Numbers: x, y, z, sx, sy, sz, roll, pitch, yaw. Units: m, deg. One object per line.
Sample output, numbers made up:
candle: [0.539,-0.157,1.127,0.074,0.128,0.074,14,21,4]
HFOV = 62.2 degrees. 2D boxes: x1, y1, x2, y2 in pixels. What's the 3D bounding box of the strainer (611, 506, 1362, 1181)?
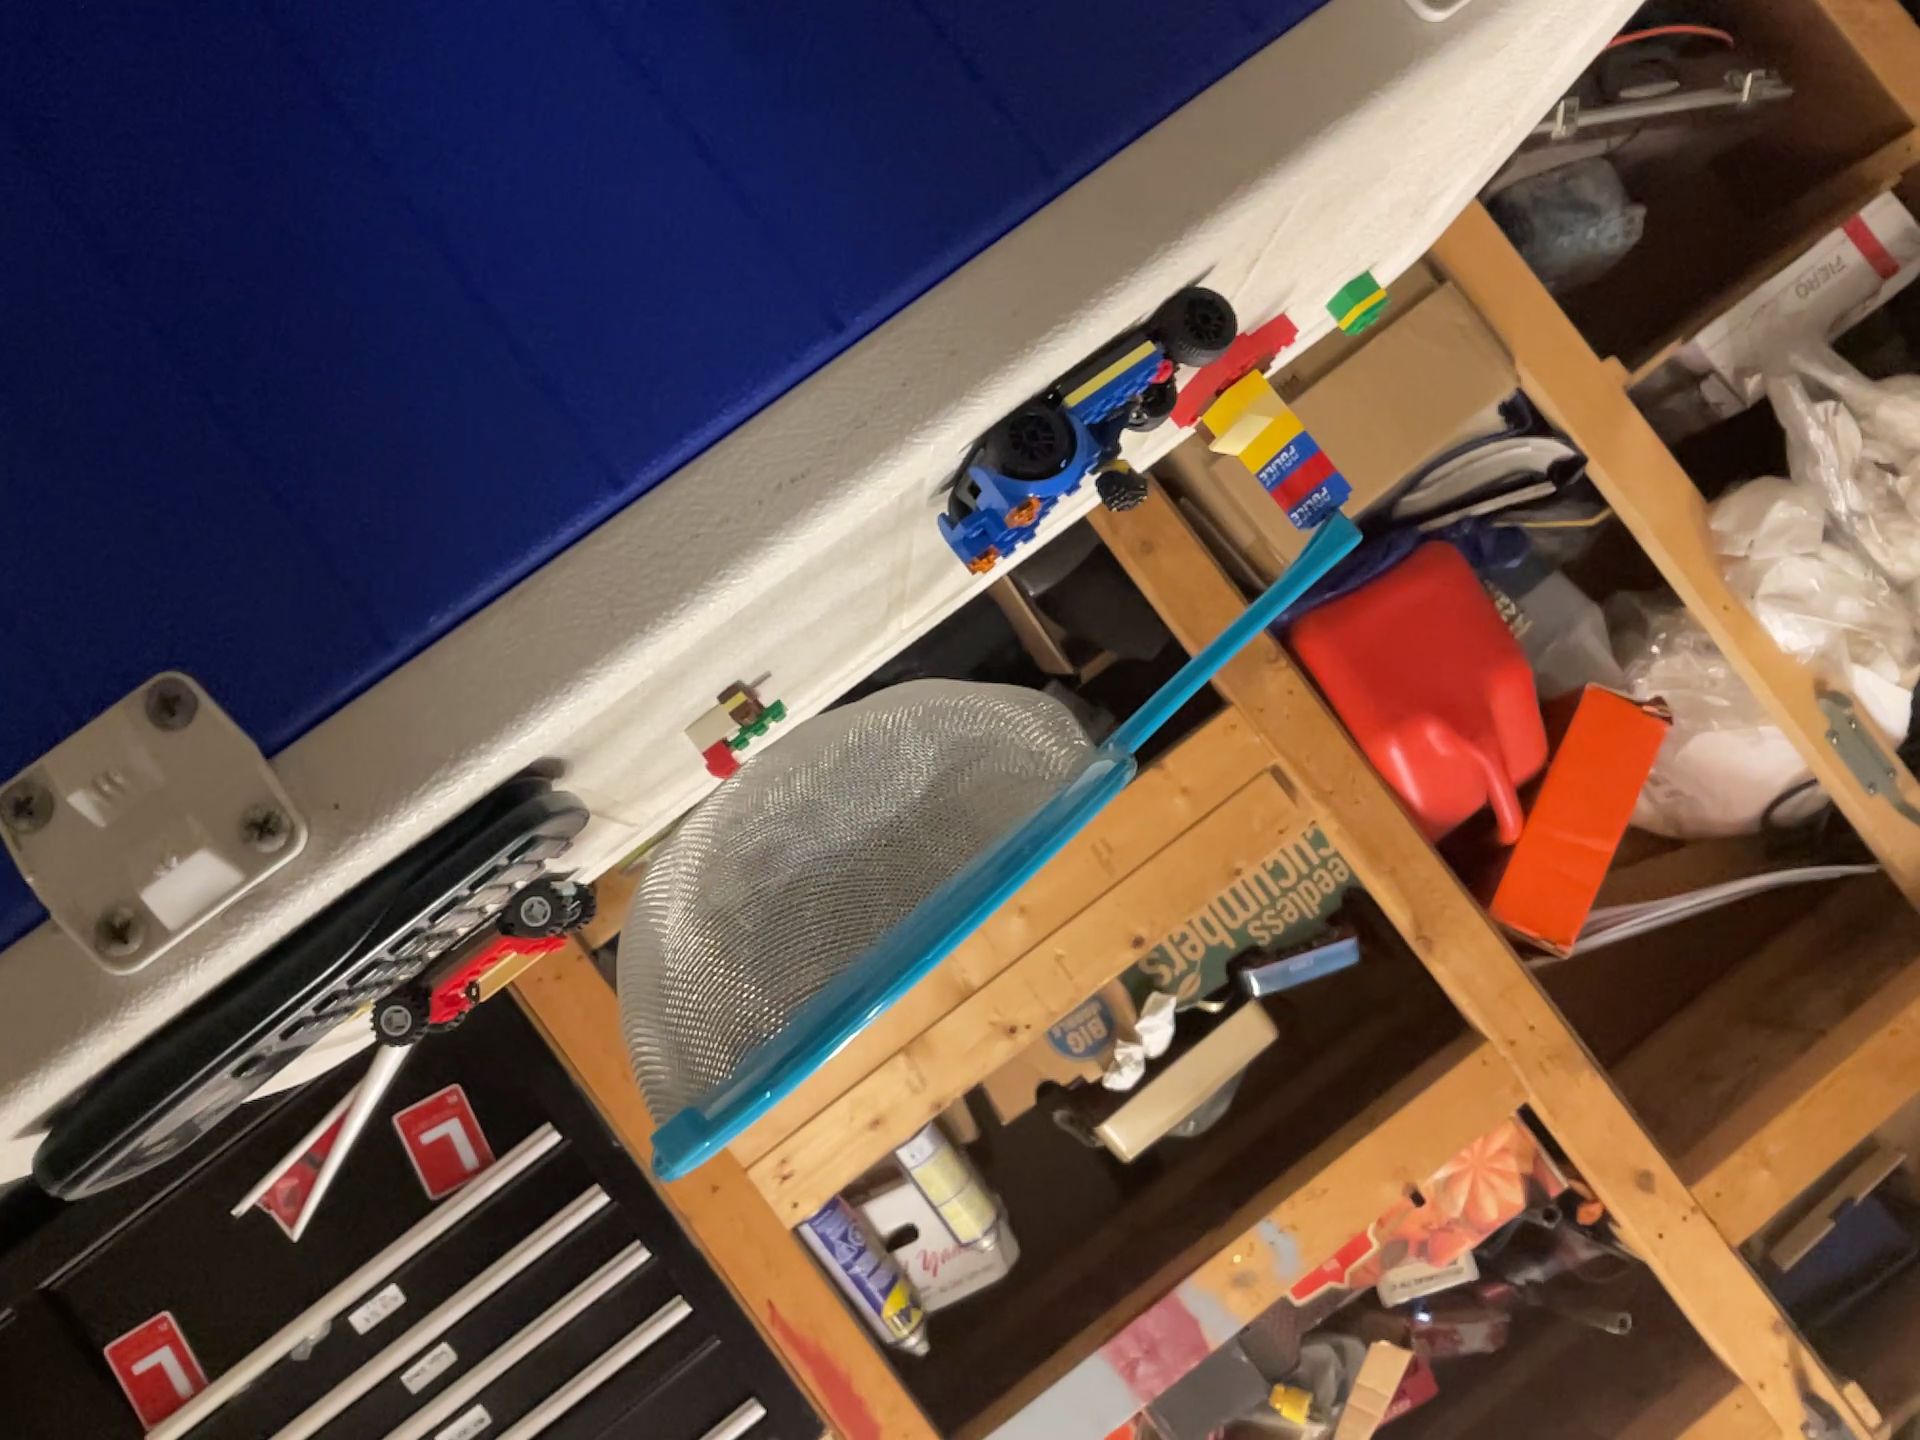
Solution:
strainer: [0.000,0.009,0.560,0.340,0.095,0.211,-42,177,-14]
